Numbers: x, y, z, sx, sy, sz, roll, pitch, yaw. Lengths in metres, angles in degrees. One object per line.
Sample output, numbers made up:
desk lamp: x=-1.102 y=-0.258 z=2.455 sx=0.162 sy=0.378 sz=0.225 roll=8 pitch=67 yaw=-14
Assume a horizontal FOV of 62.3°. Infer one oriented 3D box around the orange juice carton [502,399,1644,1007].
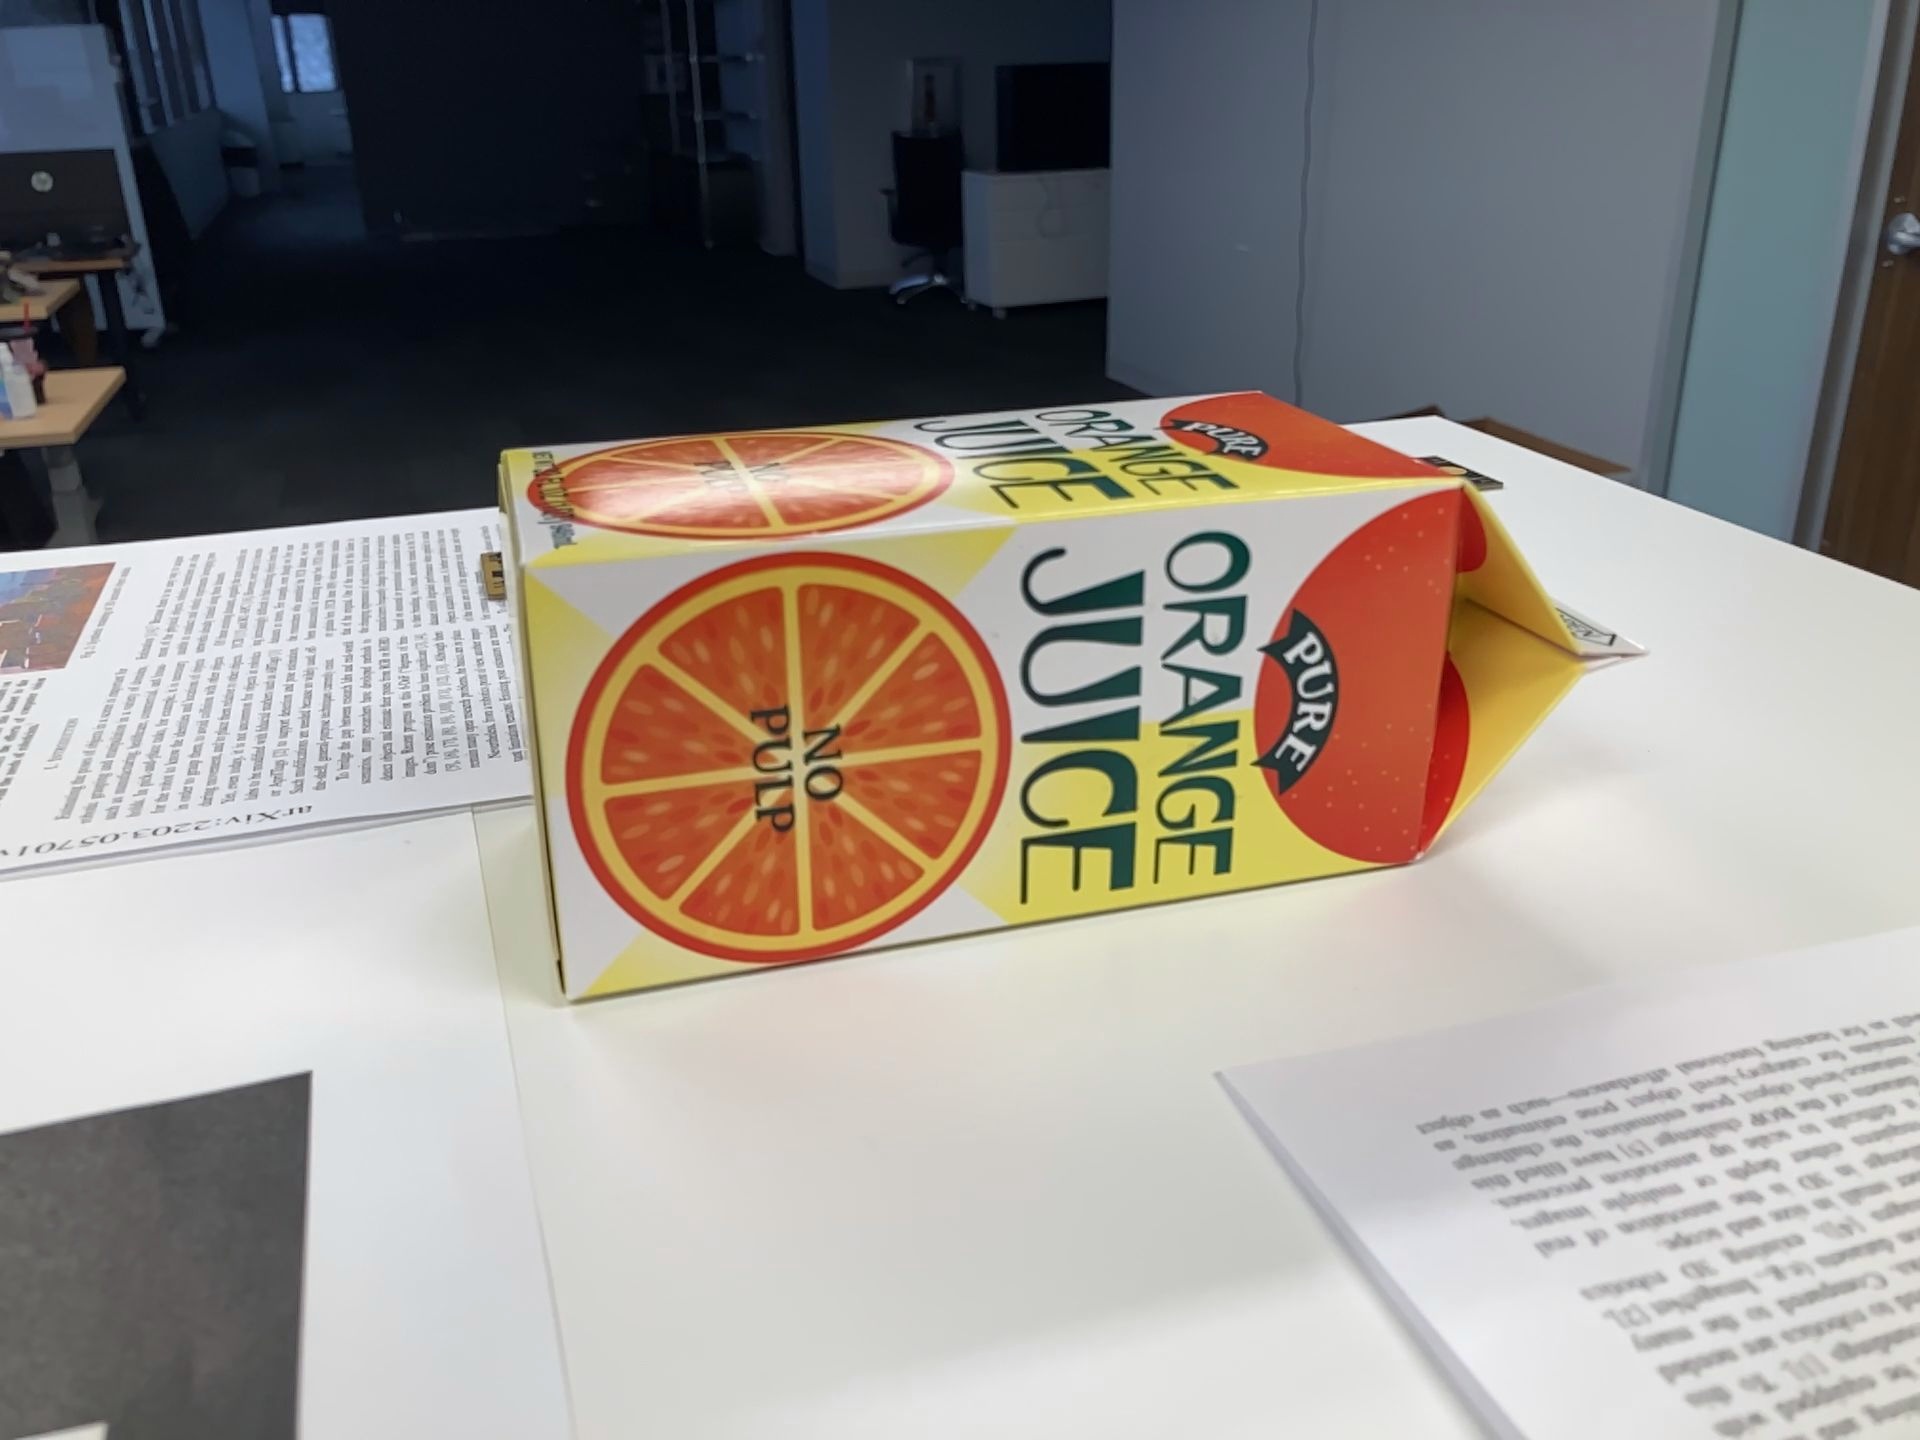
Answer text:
orange juice carton: x=0.020 y=-0.012 z=0.288 sx=0.192 sy=0.073 sz=0.072 roll=-8 pitch=23 yaw=-15
